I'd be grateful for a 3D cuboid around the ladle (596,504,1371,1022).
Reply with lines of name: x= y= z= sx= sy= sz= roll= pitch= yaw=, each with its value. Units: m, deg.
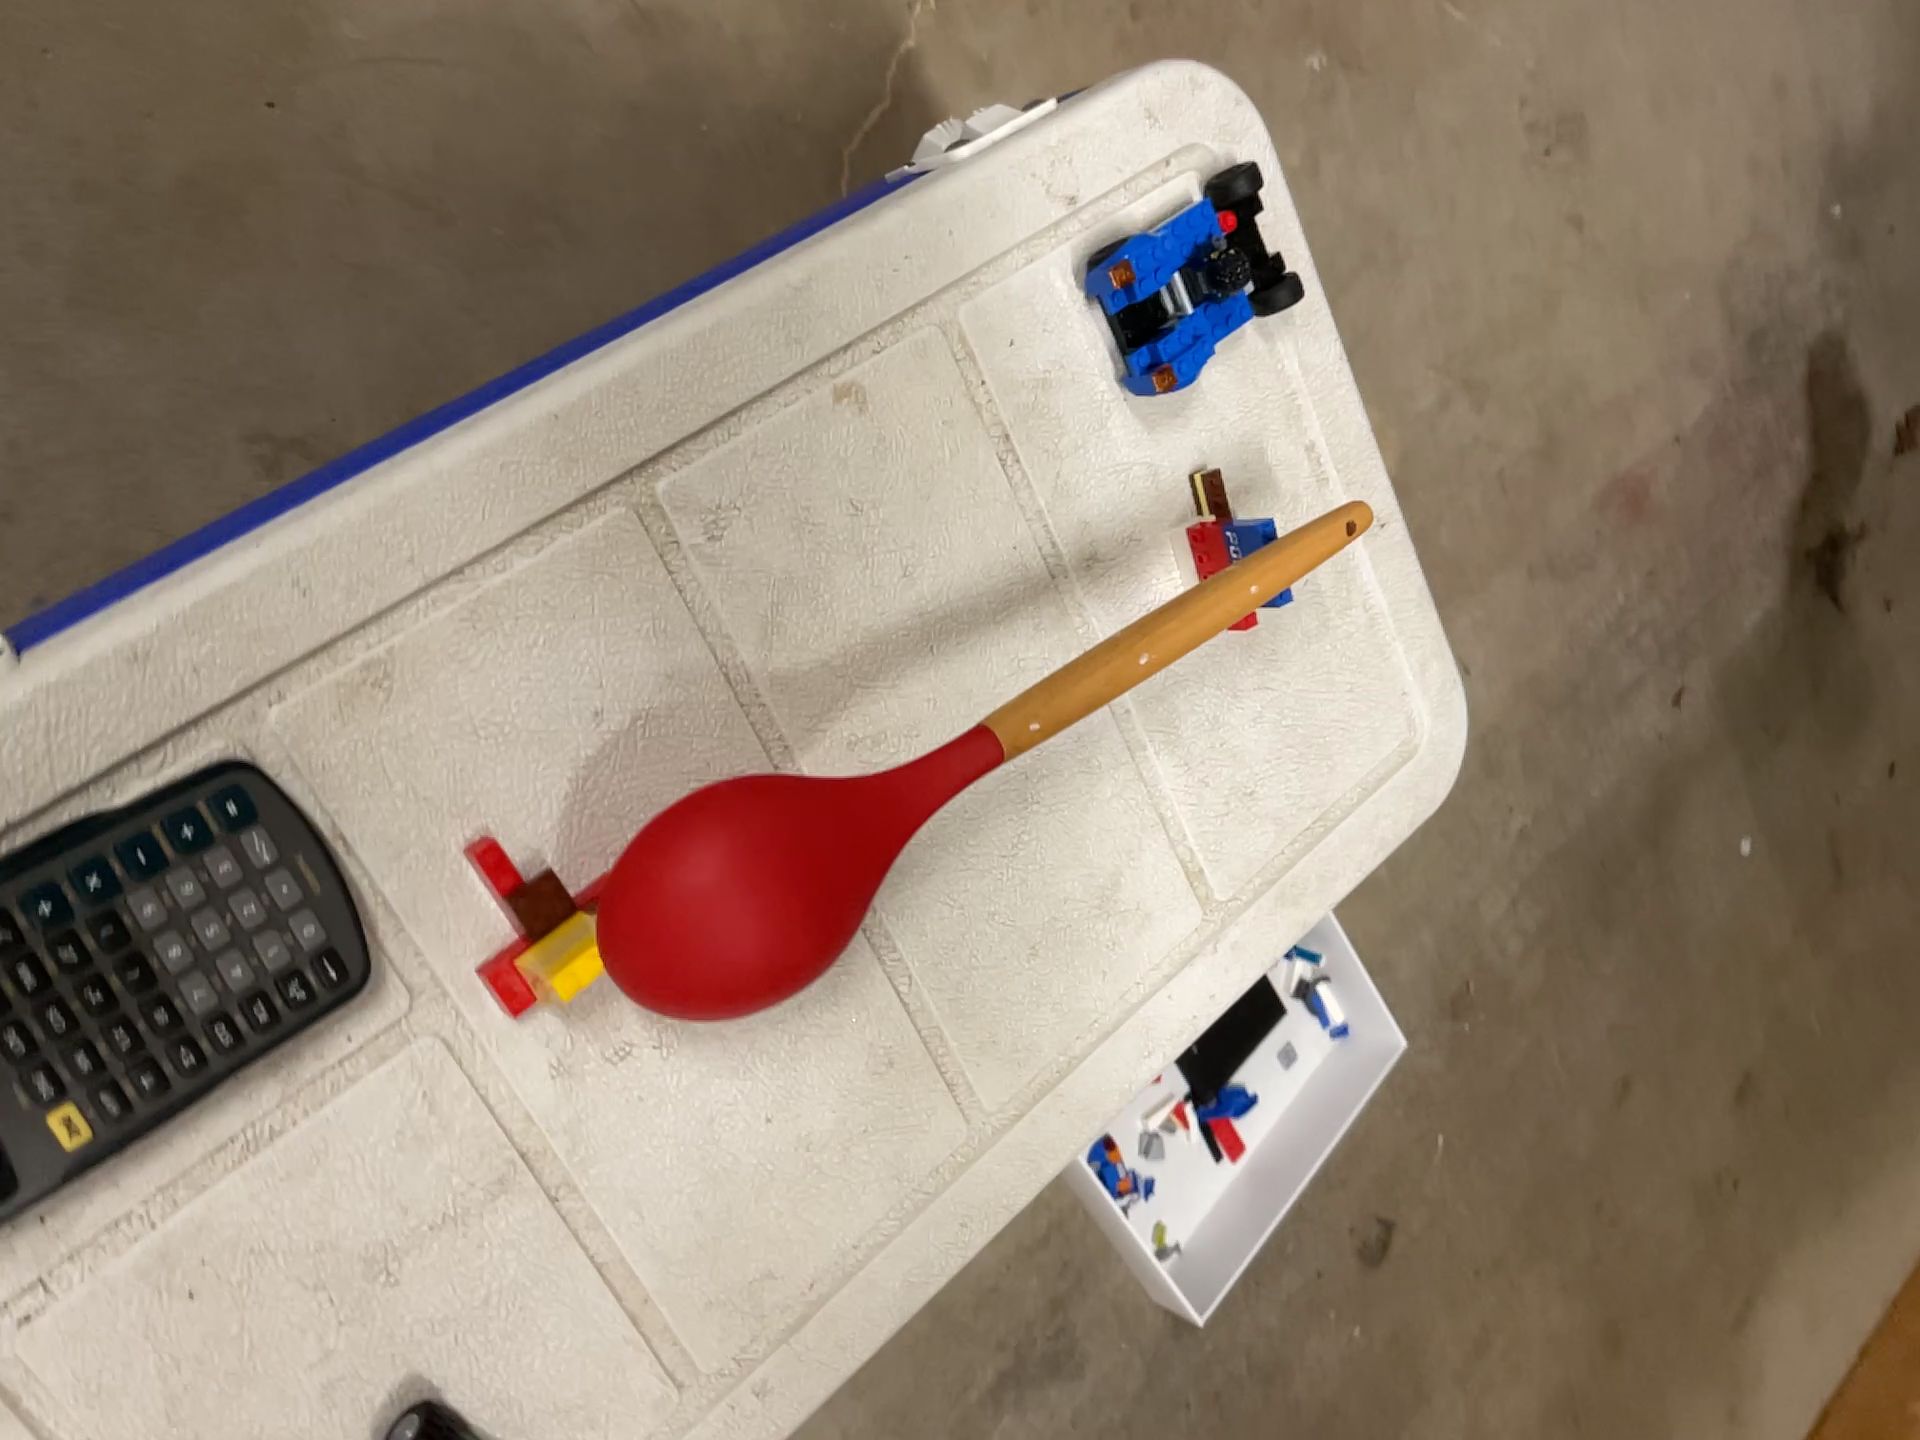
ladle: x=0.028 y=-0.003 z=0.507 sx=0.315 sy=0.031 sz=0.069 roll=-31 pitch=110 yaw=-29
